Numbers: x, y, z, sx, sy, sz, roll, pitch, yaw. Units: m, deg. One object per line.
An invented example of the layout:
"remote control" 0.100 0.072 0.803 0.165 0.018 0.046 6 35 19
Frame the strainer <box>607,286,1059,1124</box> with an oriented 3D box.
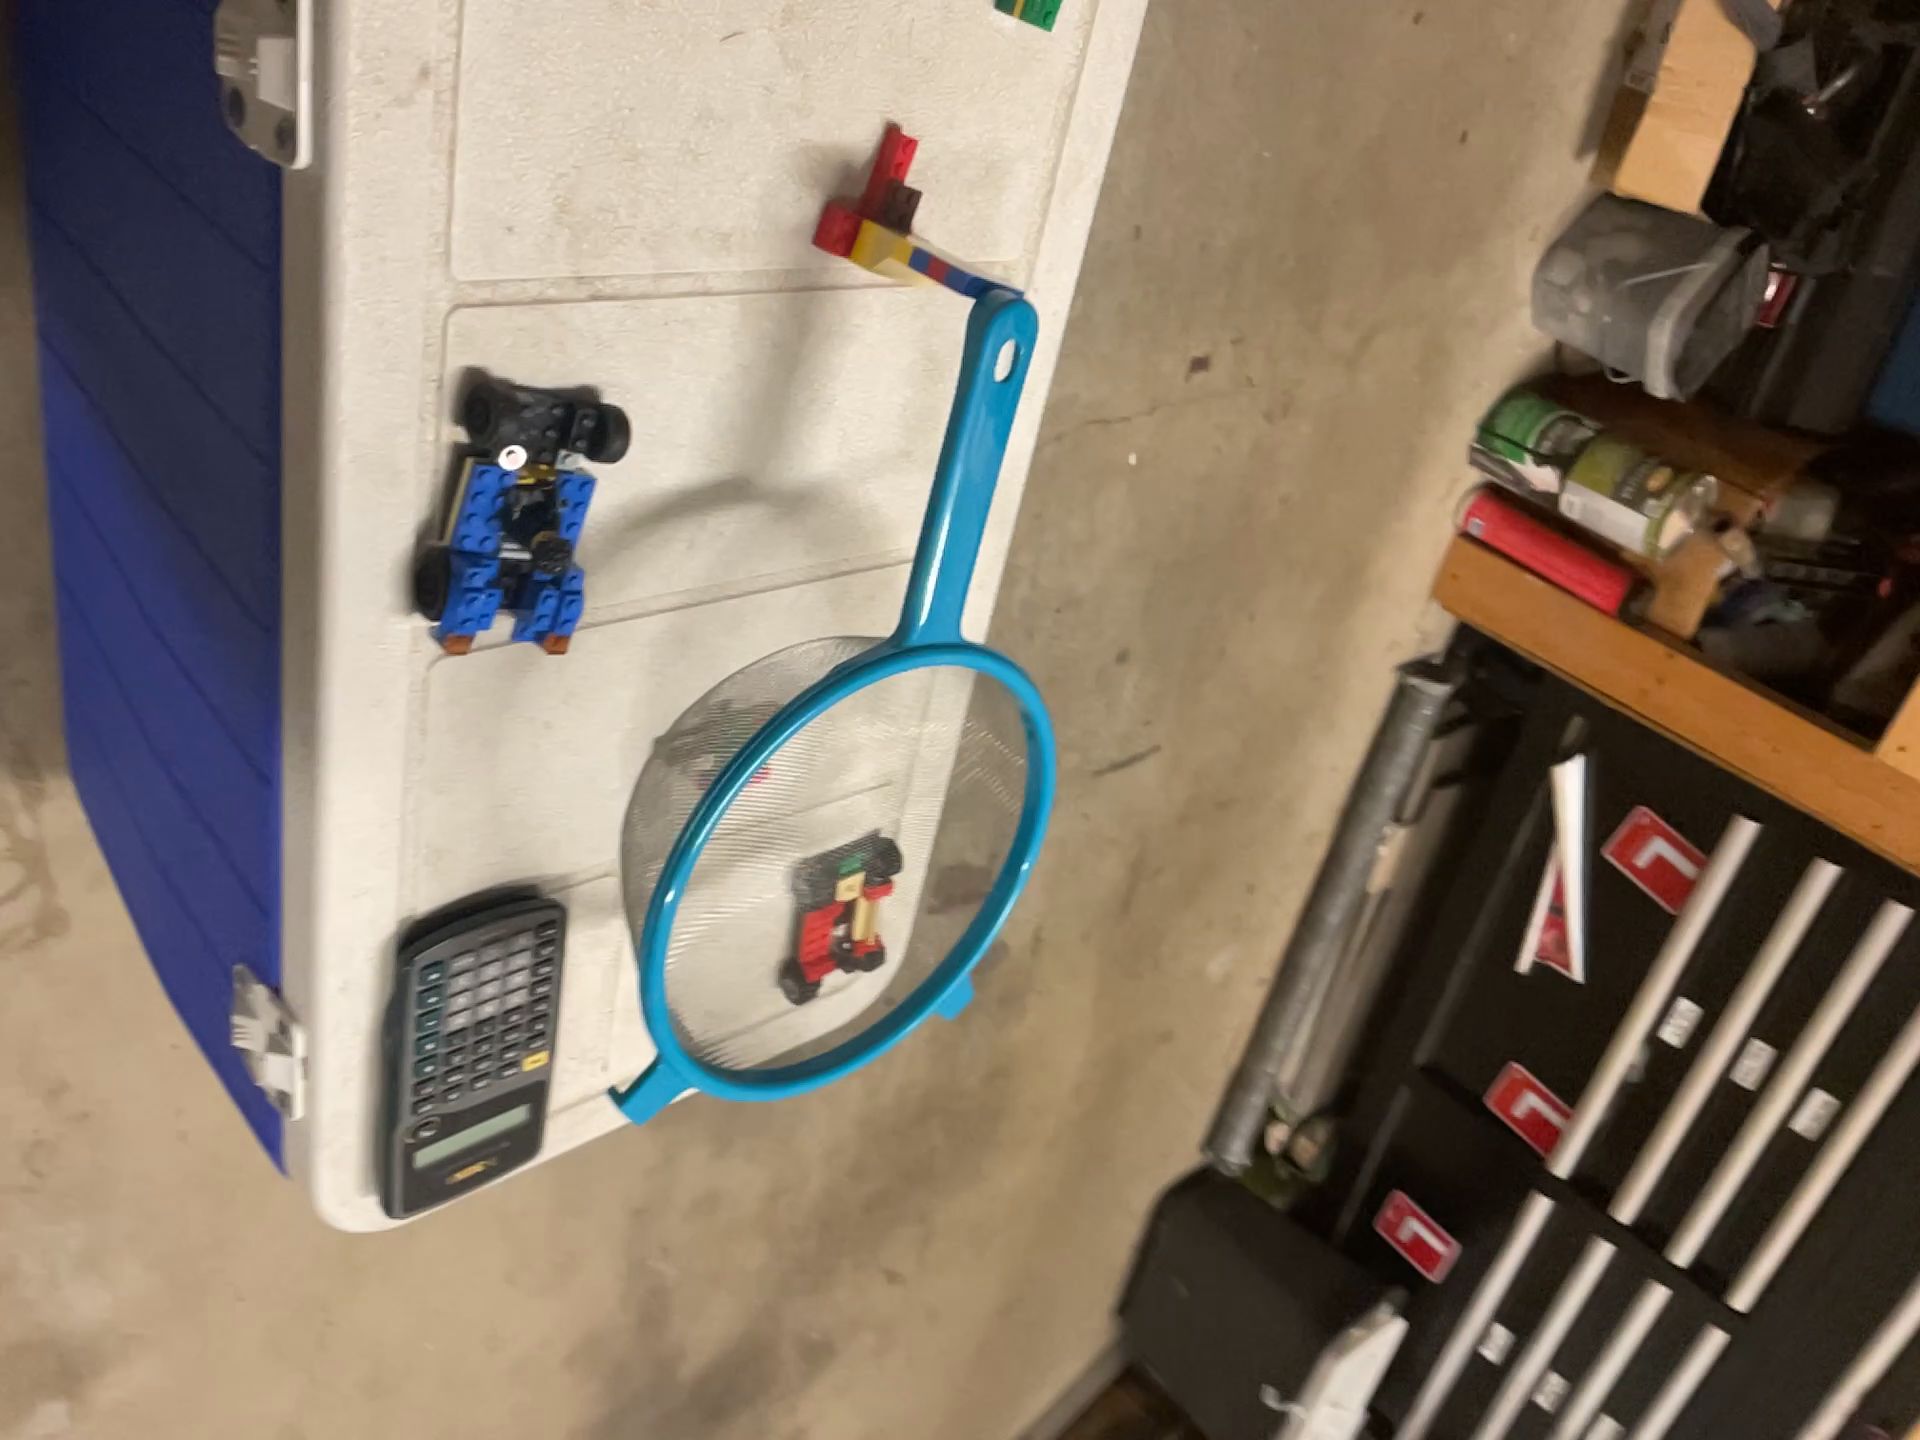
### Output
"strainer" -0.048 -0.012 0.639 0.211 0.095 0.340 -8 121 -45
